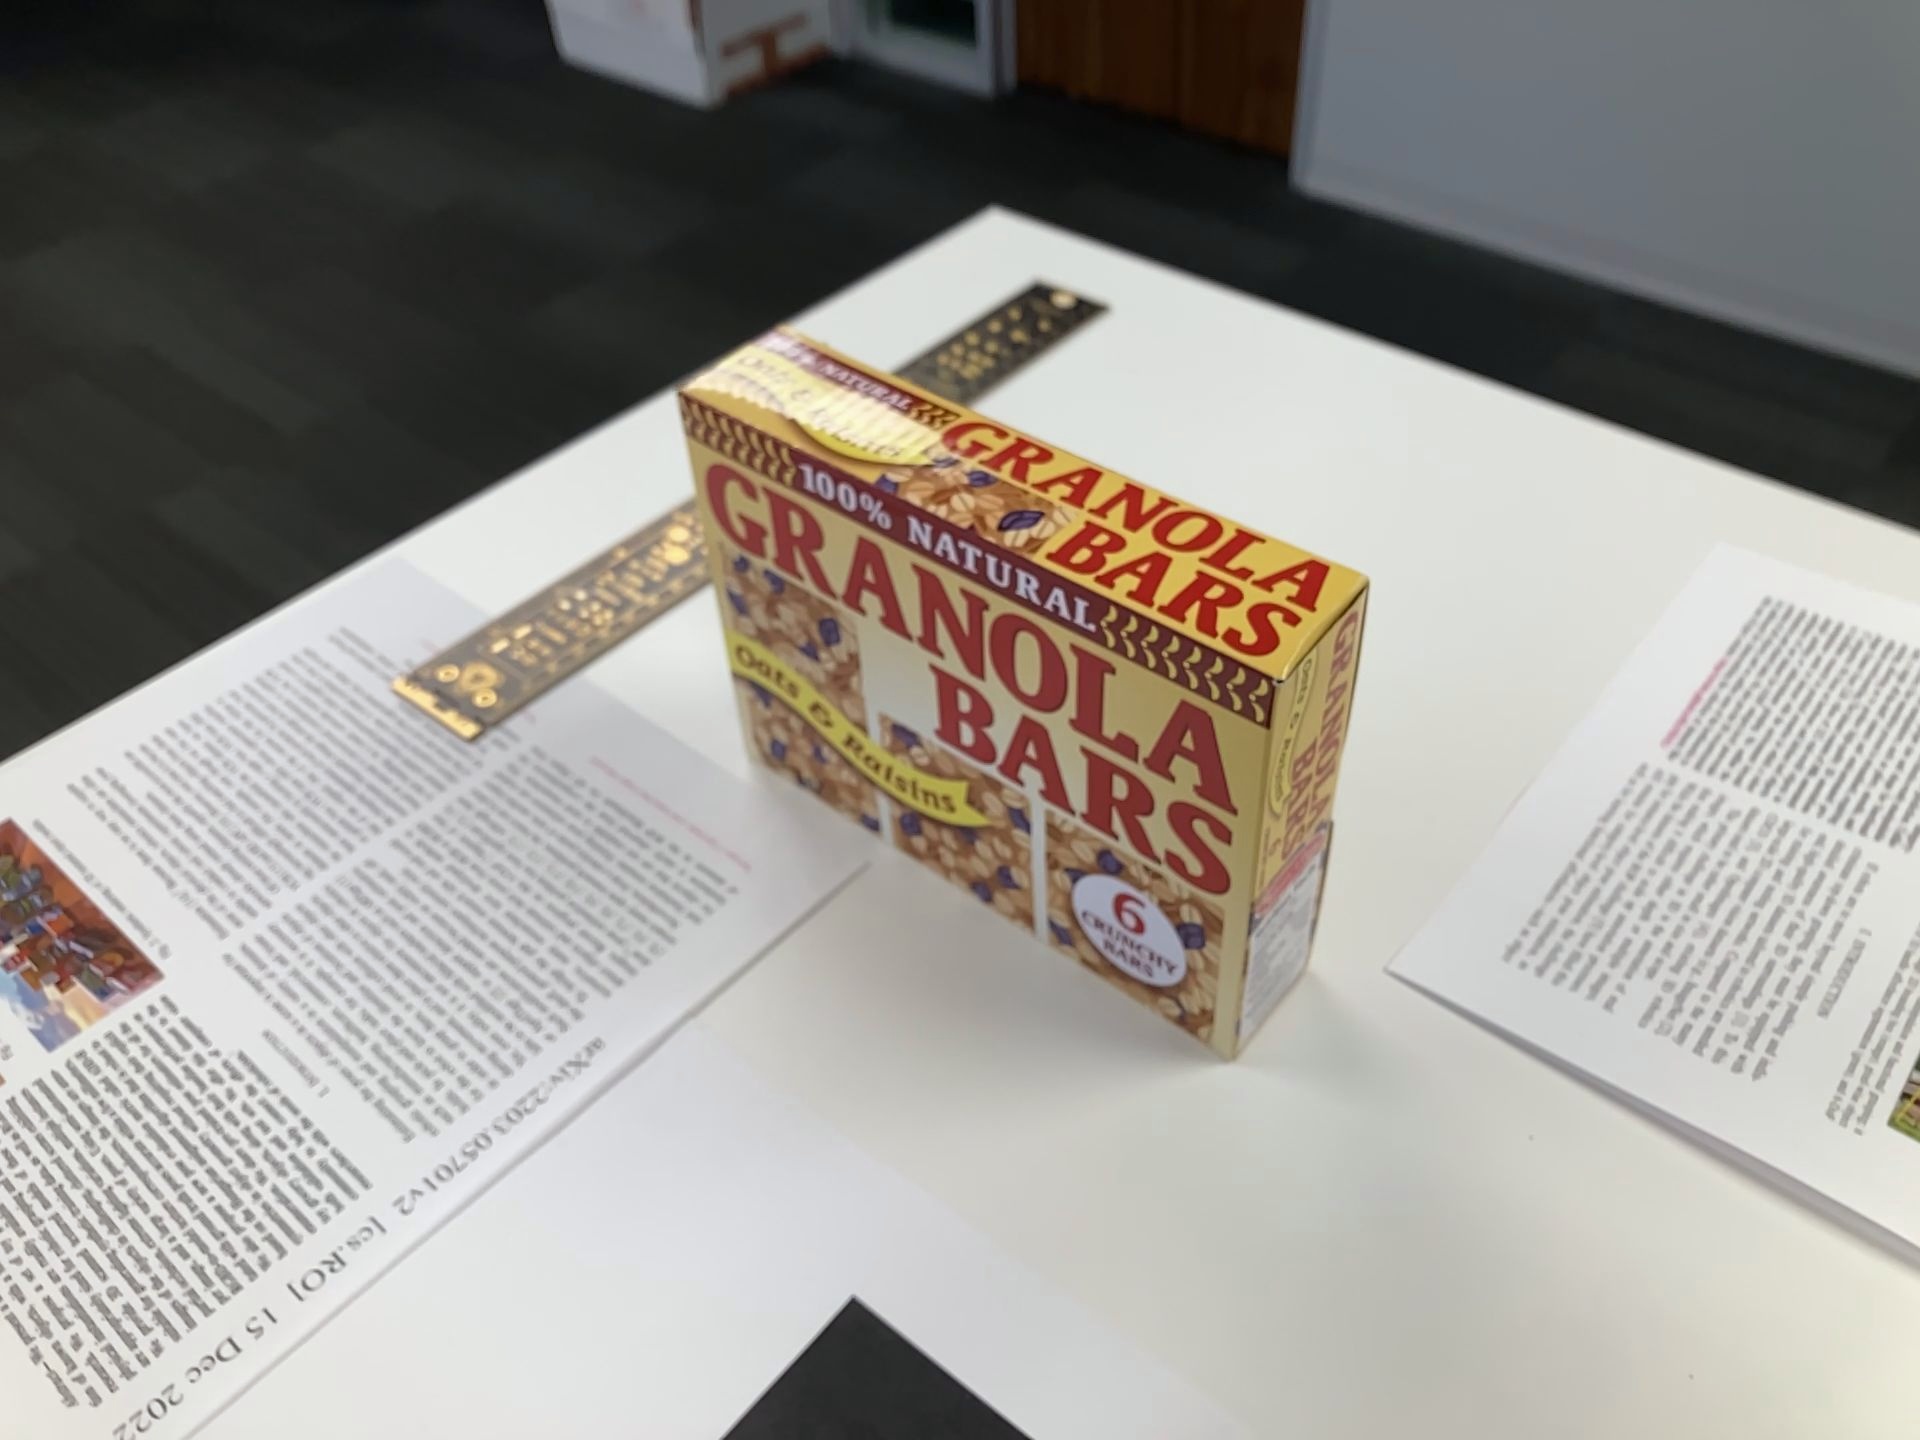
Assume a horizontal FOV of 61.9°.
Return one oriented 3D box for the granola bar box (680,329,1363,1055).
[{"bbox_3d":[0.011,-0.009,0.387,0.165,0.124,0.039,29,53,30],"label":"granola bar box"}]
